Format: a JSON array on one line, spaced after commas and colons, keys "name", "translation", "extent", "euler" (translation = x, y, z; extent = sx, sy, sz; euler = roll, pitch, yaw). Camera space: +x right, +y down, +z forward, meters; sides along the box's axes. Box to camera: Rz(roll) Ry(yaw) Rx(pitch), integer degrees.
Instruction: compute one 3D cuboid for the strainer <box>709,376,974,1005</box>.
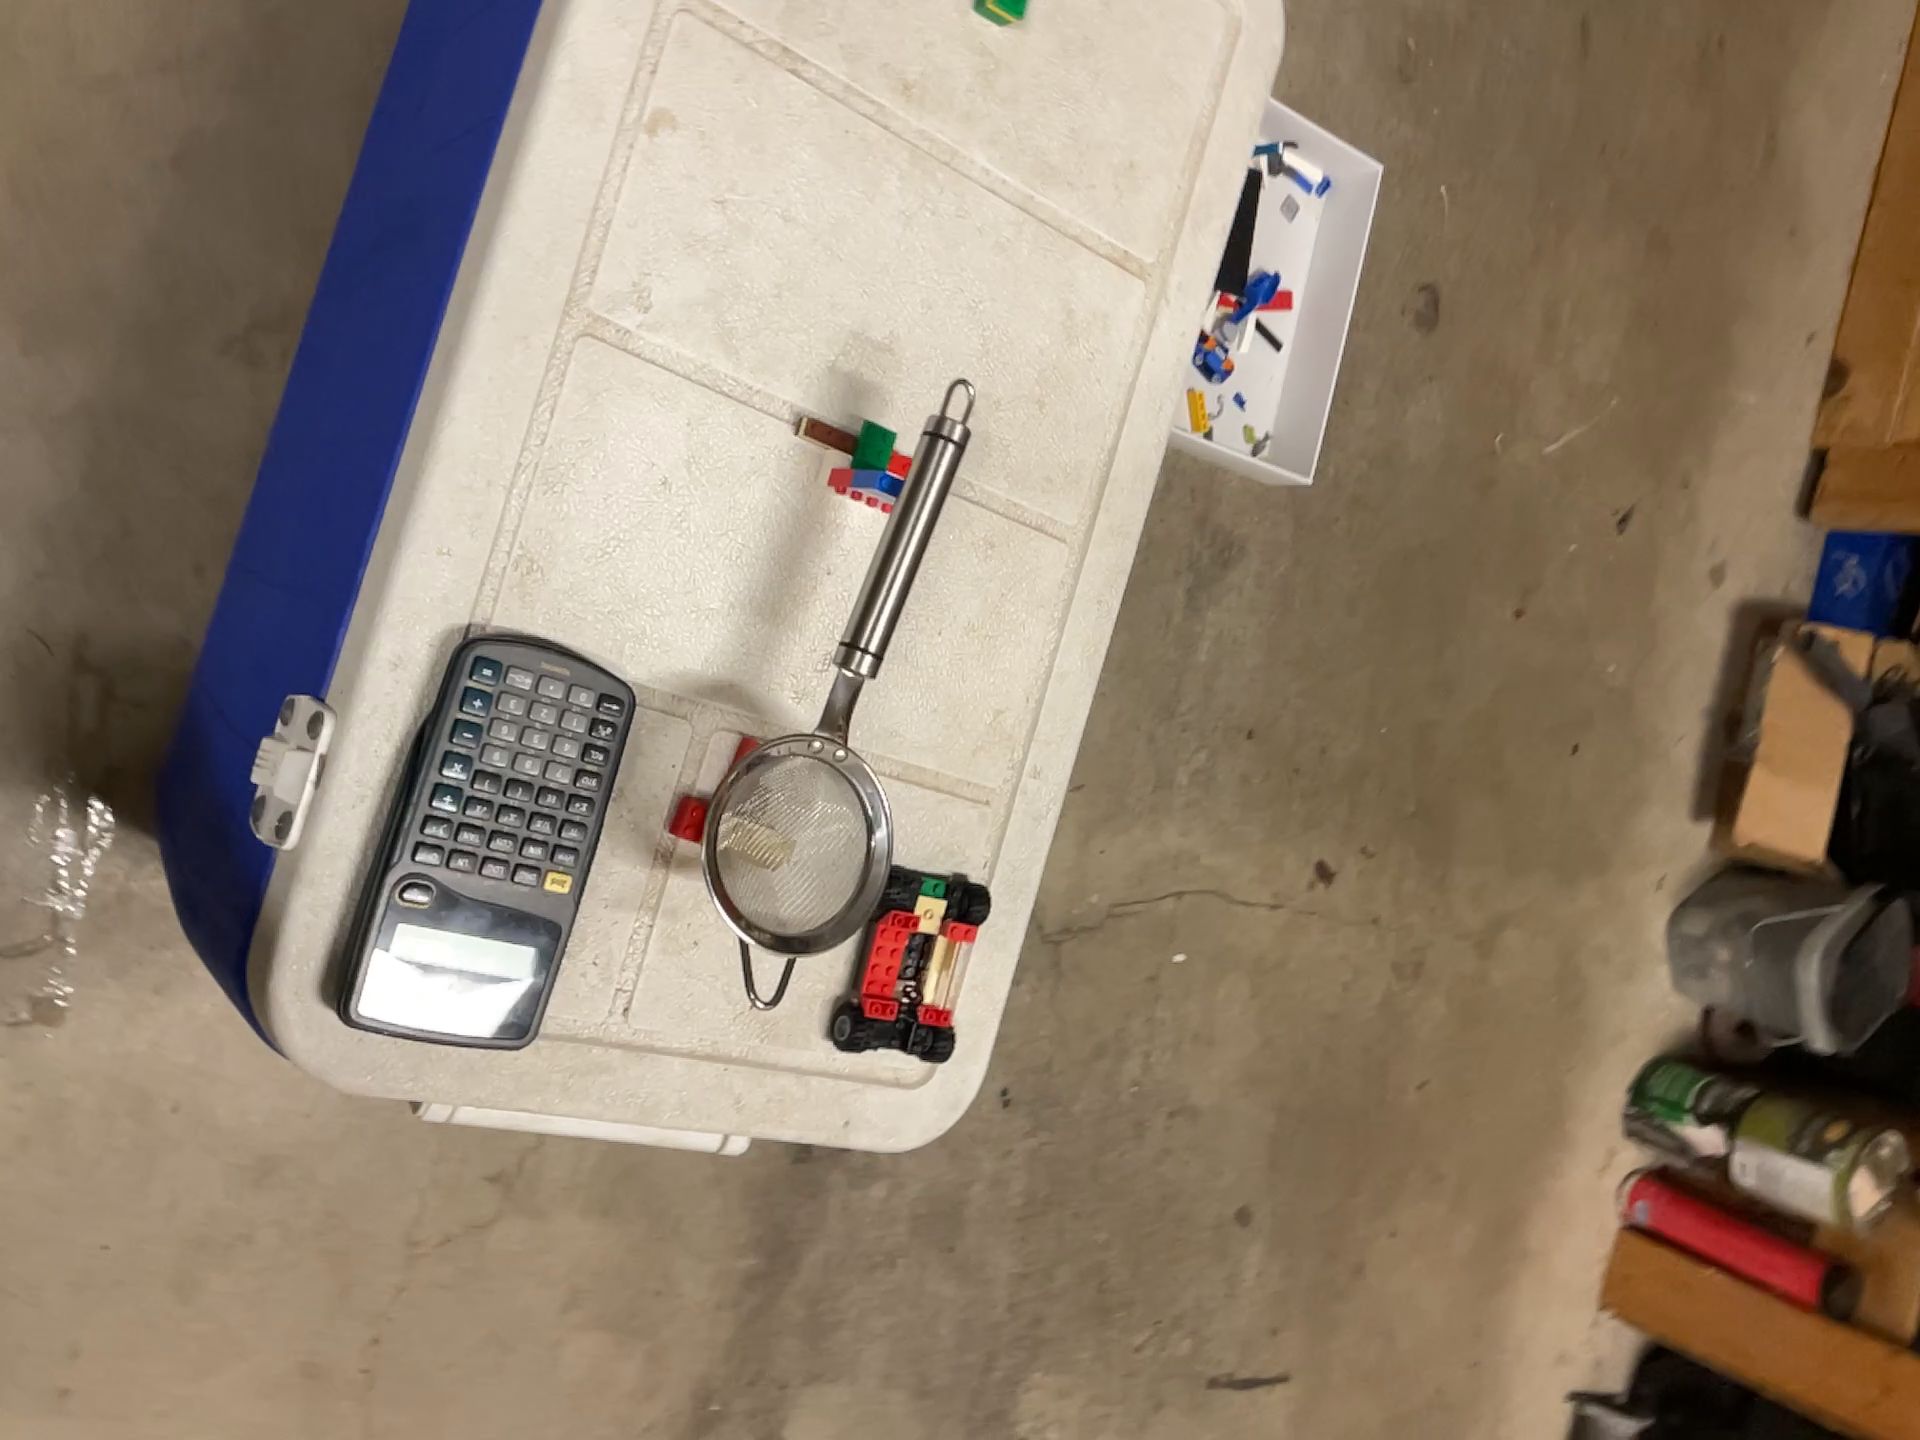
[{"name": "strainer", "translation": [-0.042, -0.017, 0.634], "extent": [0.087, 0.050, 0.258], "euler": [24, 83, -37]}]
